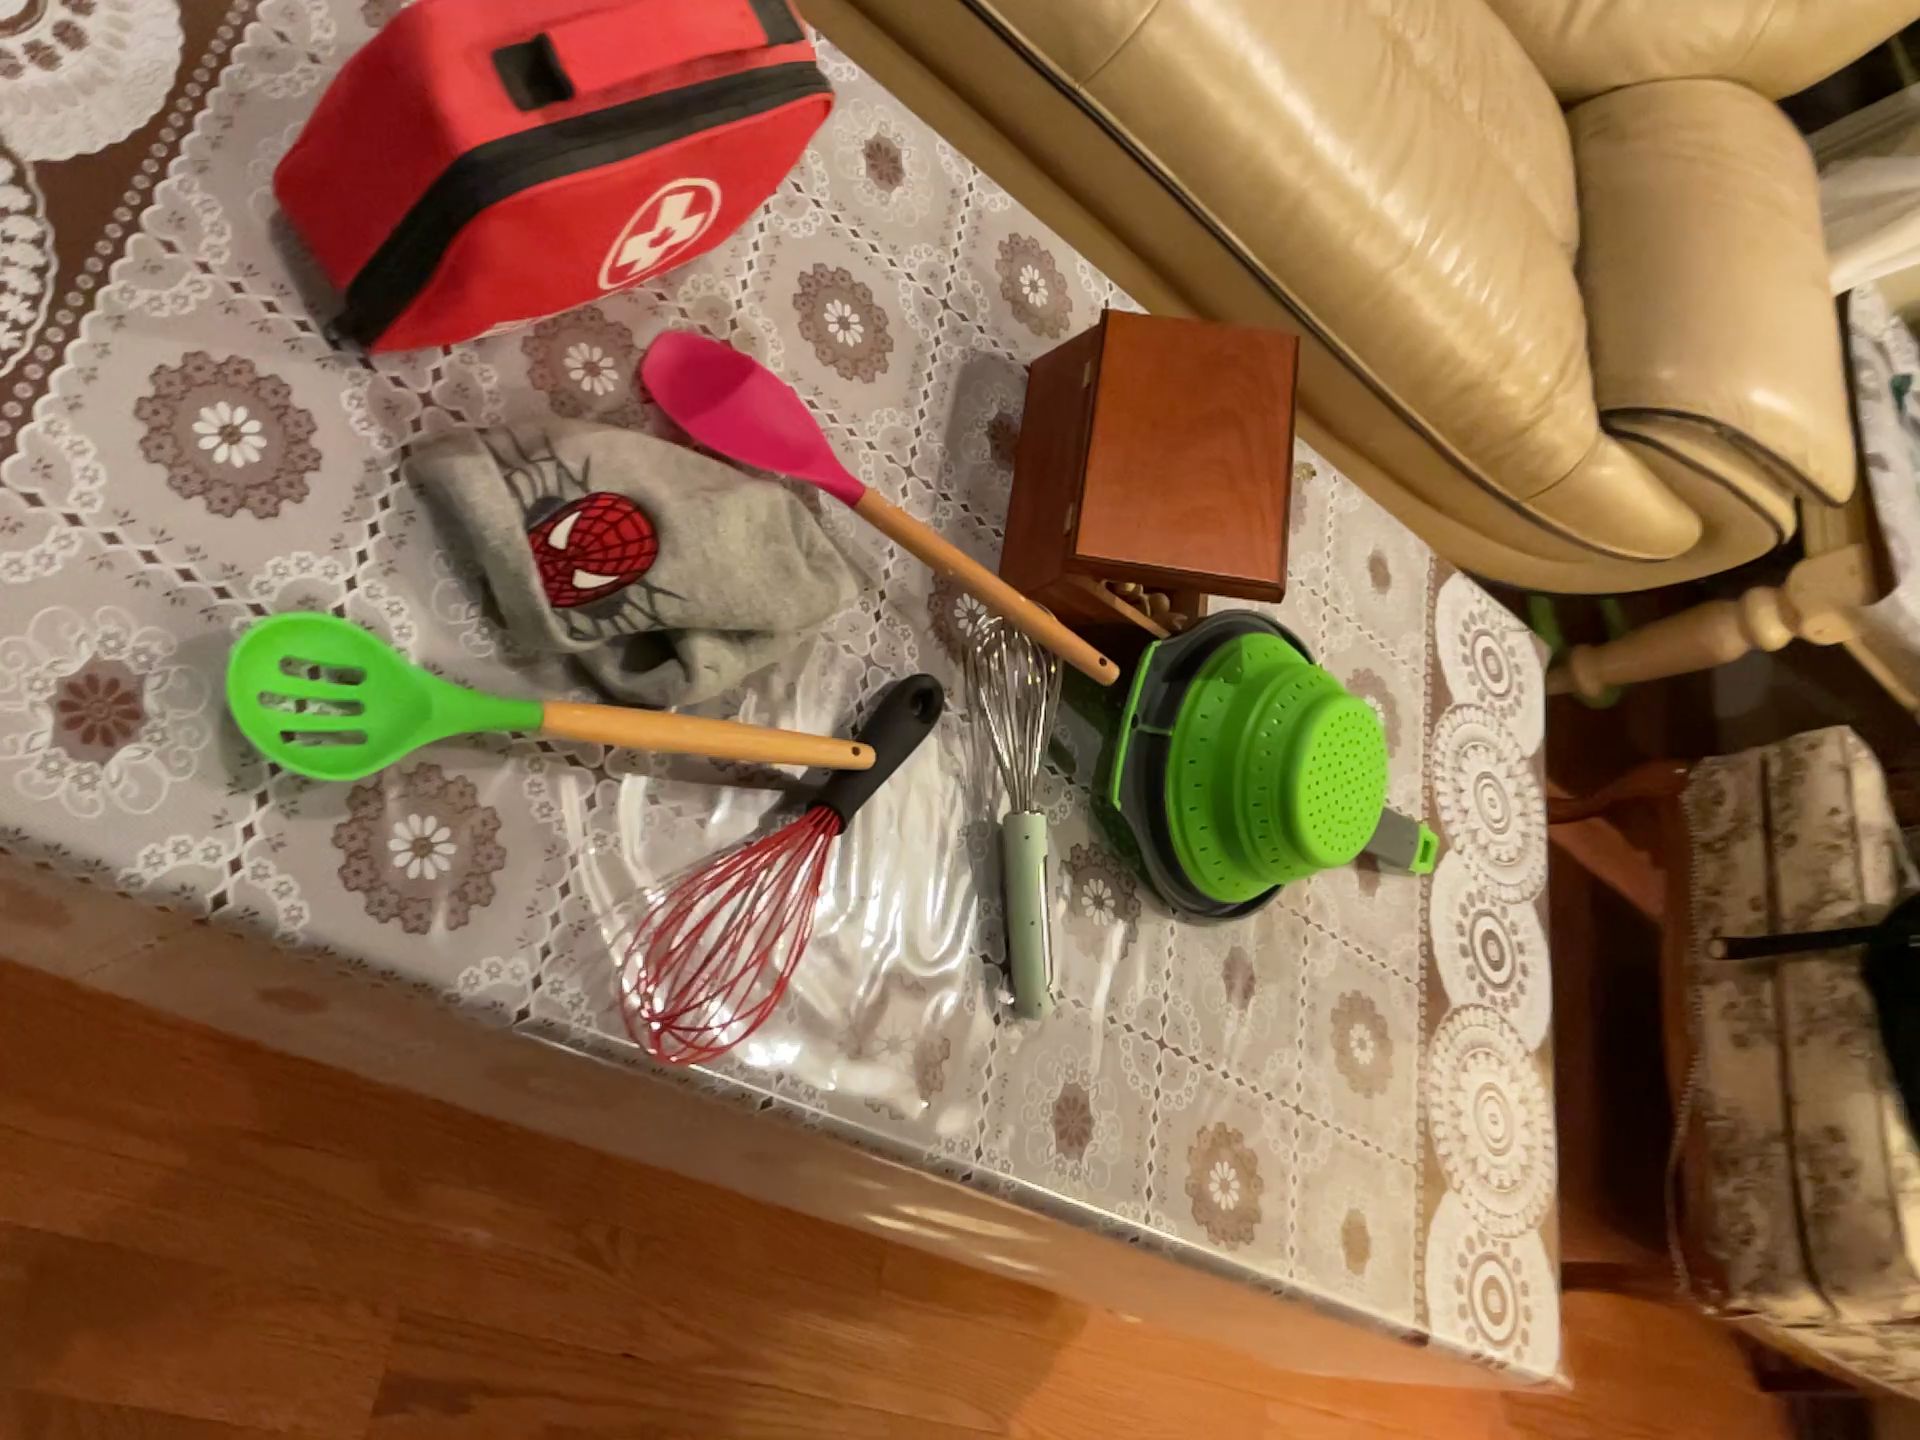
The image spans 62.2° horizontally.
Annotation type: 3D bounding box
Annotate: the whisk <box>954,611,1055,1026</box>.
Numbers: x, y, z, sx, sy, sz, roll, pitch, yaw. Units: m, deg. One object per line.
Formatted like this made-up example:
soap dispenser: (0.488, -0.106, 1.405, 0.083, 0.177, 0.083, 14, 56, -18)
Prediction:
whisk: (0.032, 0.050, 0.913, 0.058, 0.059, 0.246, -4, 76, -3)

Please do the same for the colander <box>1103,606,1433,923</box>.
colander: (0.253, 0.055, 1.056, 0.396, 0.094, 0.204, 23, 80, -45)

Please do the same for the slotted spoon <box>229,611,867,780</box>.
slotted spoon: (-0.170, 0.003, 0.720, 0.313, 0.031, 0.070, 8, 69, -40)

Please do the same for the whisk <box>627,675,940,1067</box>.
whisk: (-0.076, 0.060, 0.790, 0.073, 0.073, 0.296, 49, 40, -11)

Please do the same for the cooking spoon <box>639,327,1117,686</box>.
cooking spoon: (-0.037, -0.109, 0.876, 0.318, 0.017, 0.069, 34, 54, -18)
